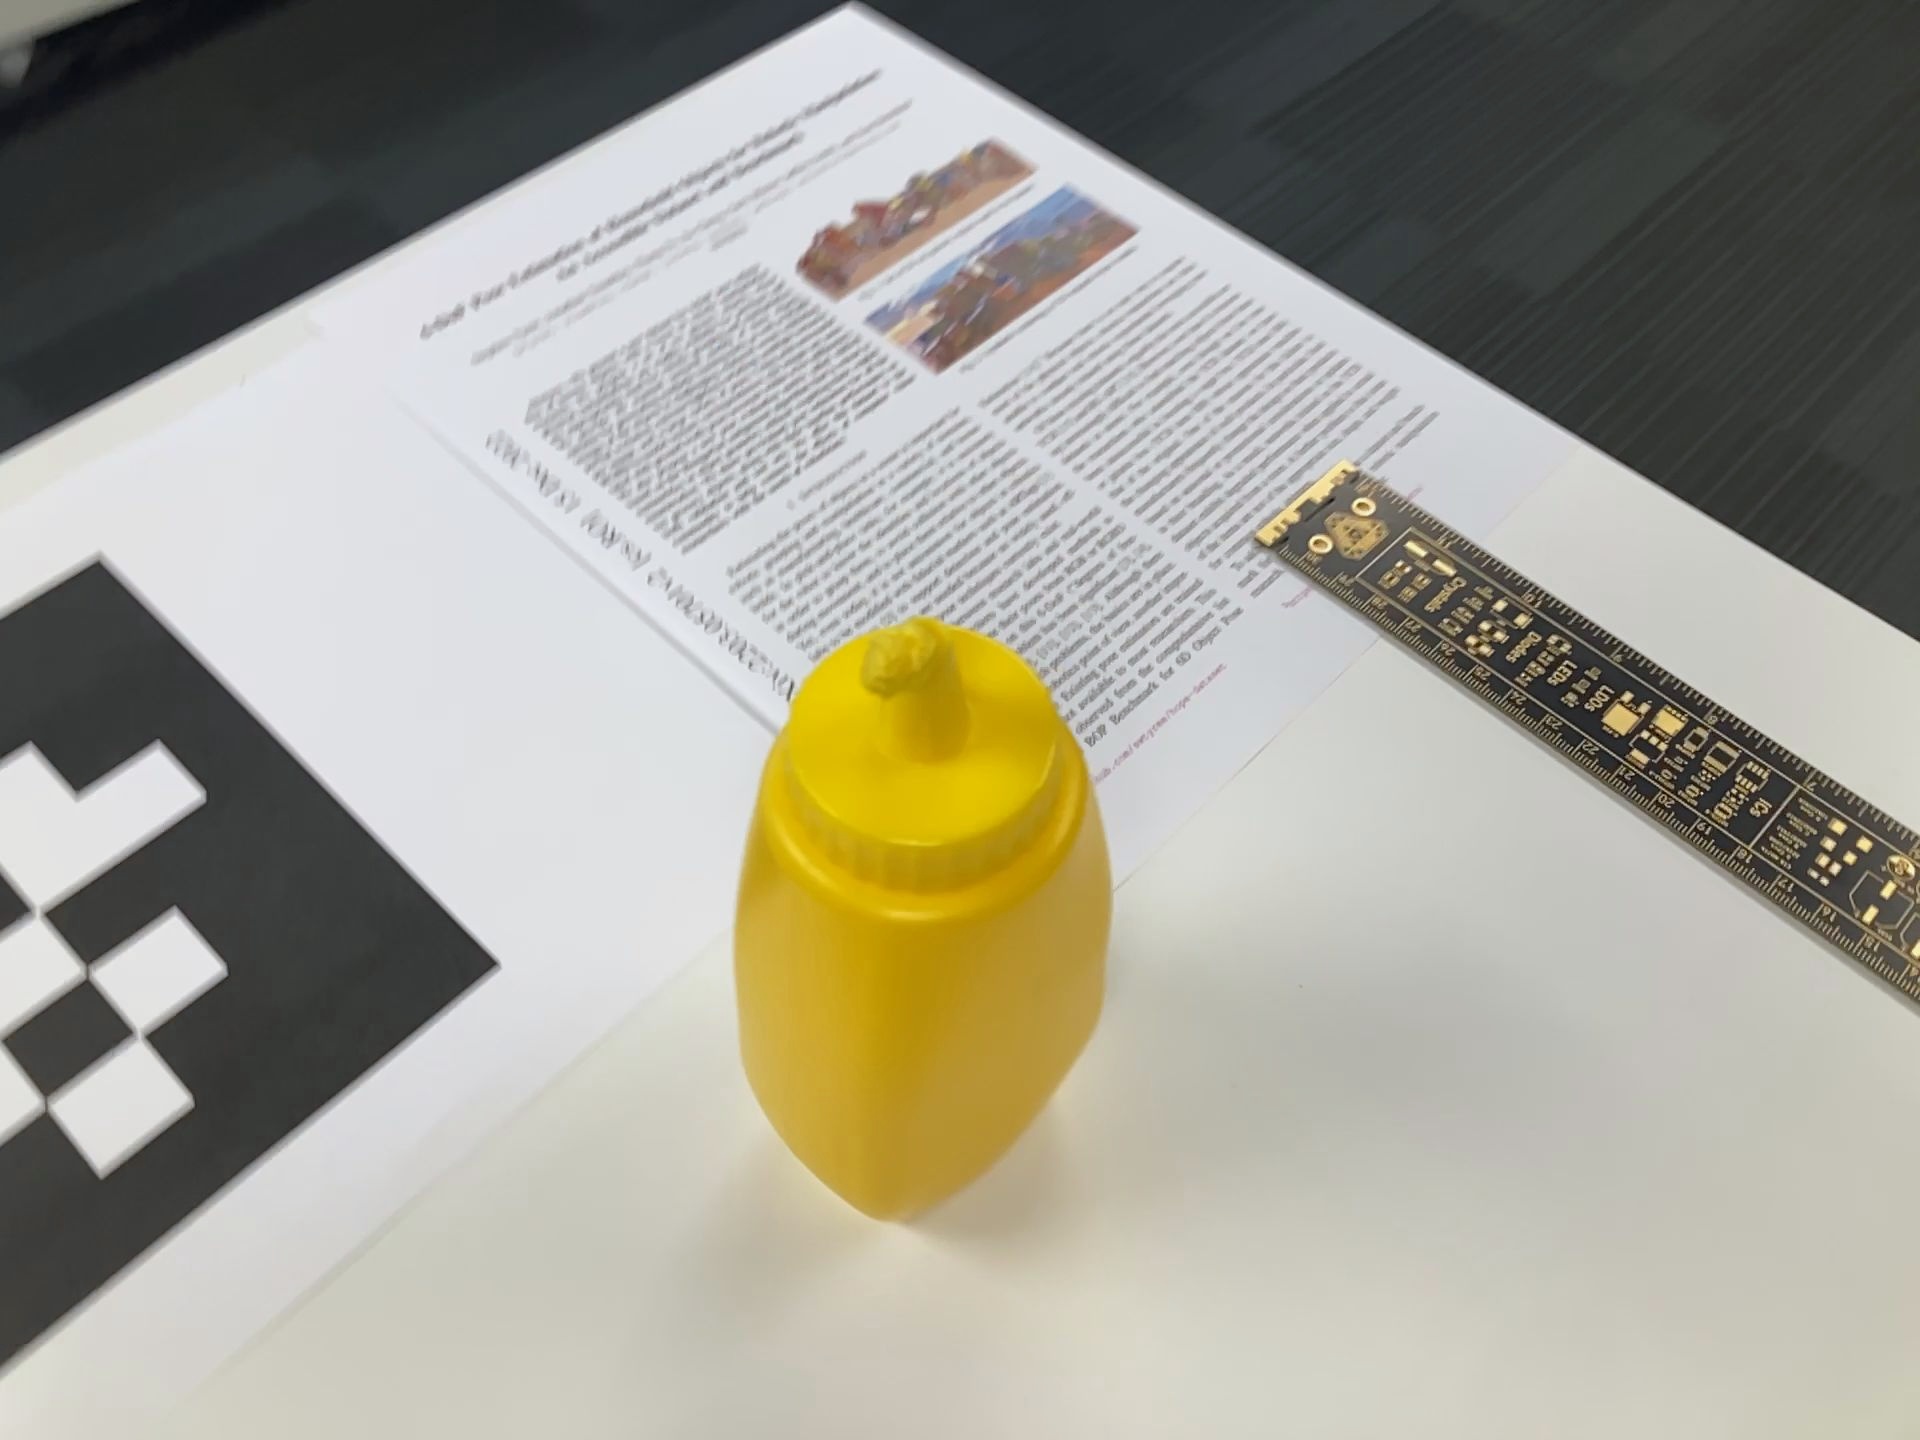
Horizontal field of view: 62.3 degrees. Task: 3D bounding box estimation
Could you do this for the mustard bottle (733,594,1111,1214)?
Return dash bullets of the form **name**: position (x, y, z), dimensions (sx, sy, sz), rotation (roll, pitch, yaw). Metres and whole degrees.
- **mustard bottle**: position (-0.006, 0.028, 0.260), dimensions (0.065, 0.160, 0.049), rotation (-35, 62, -24)
